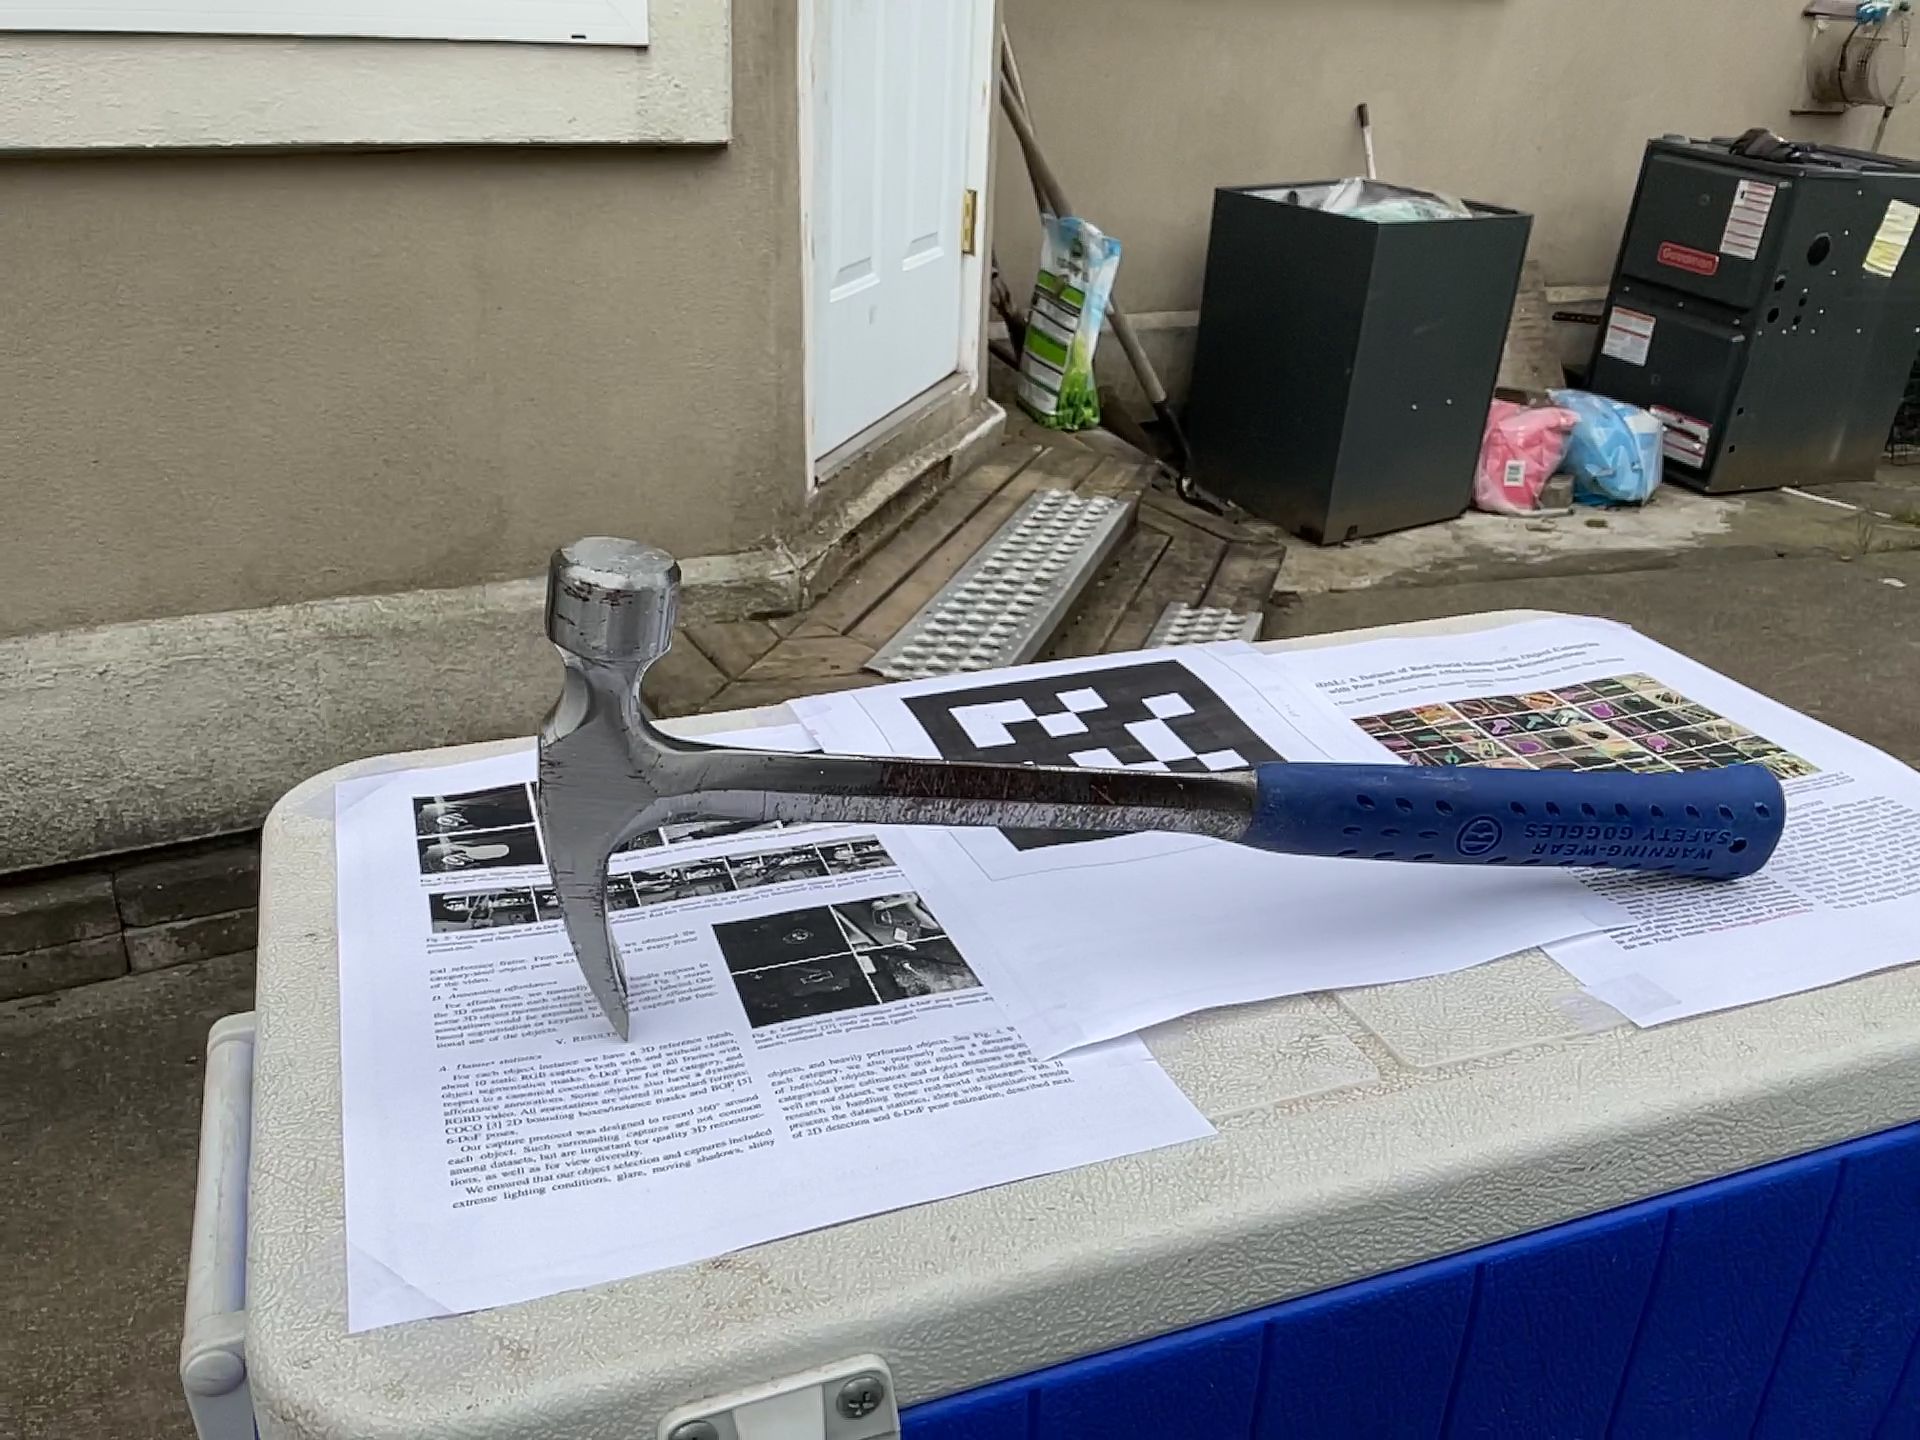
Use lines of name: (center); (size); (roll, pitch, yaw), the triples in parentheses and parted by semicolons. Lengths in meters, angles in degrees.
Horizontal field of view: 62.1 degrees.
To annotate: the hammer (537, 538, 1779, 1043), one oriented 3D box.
hammer: (0.076, 0.031, 0.498); (0.405, 0.144, 0.035); (3, 25, -17)
